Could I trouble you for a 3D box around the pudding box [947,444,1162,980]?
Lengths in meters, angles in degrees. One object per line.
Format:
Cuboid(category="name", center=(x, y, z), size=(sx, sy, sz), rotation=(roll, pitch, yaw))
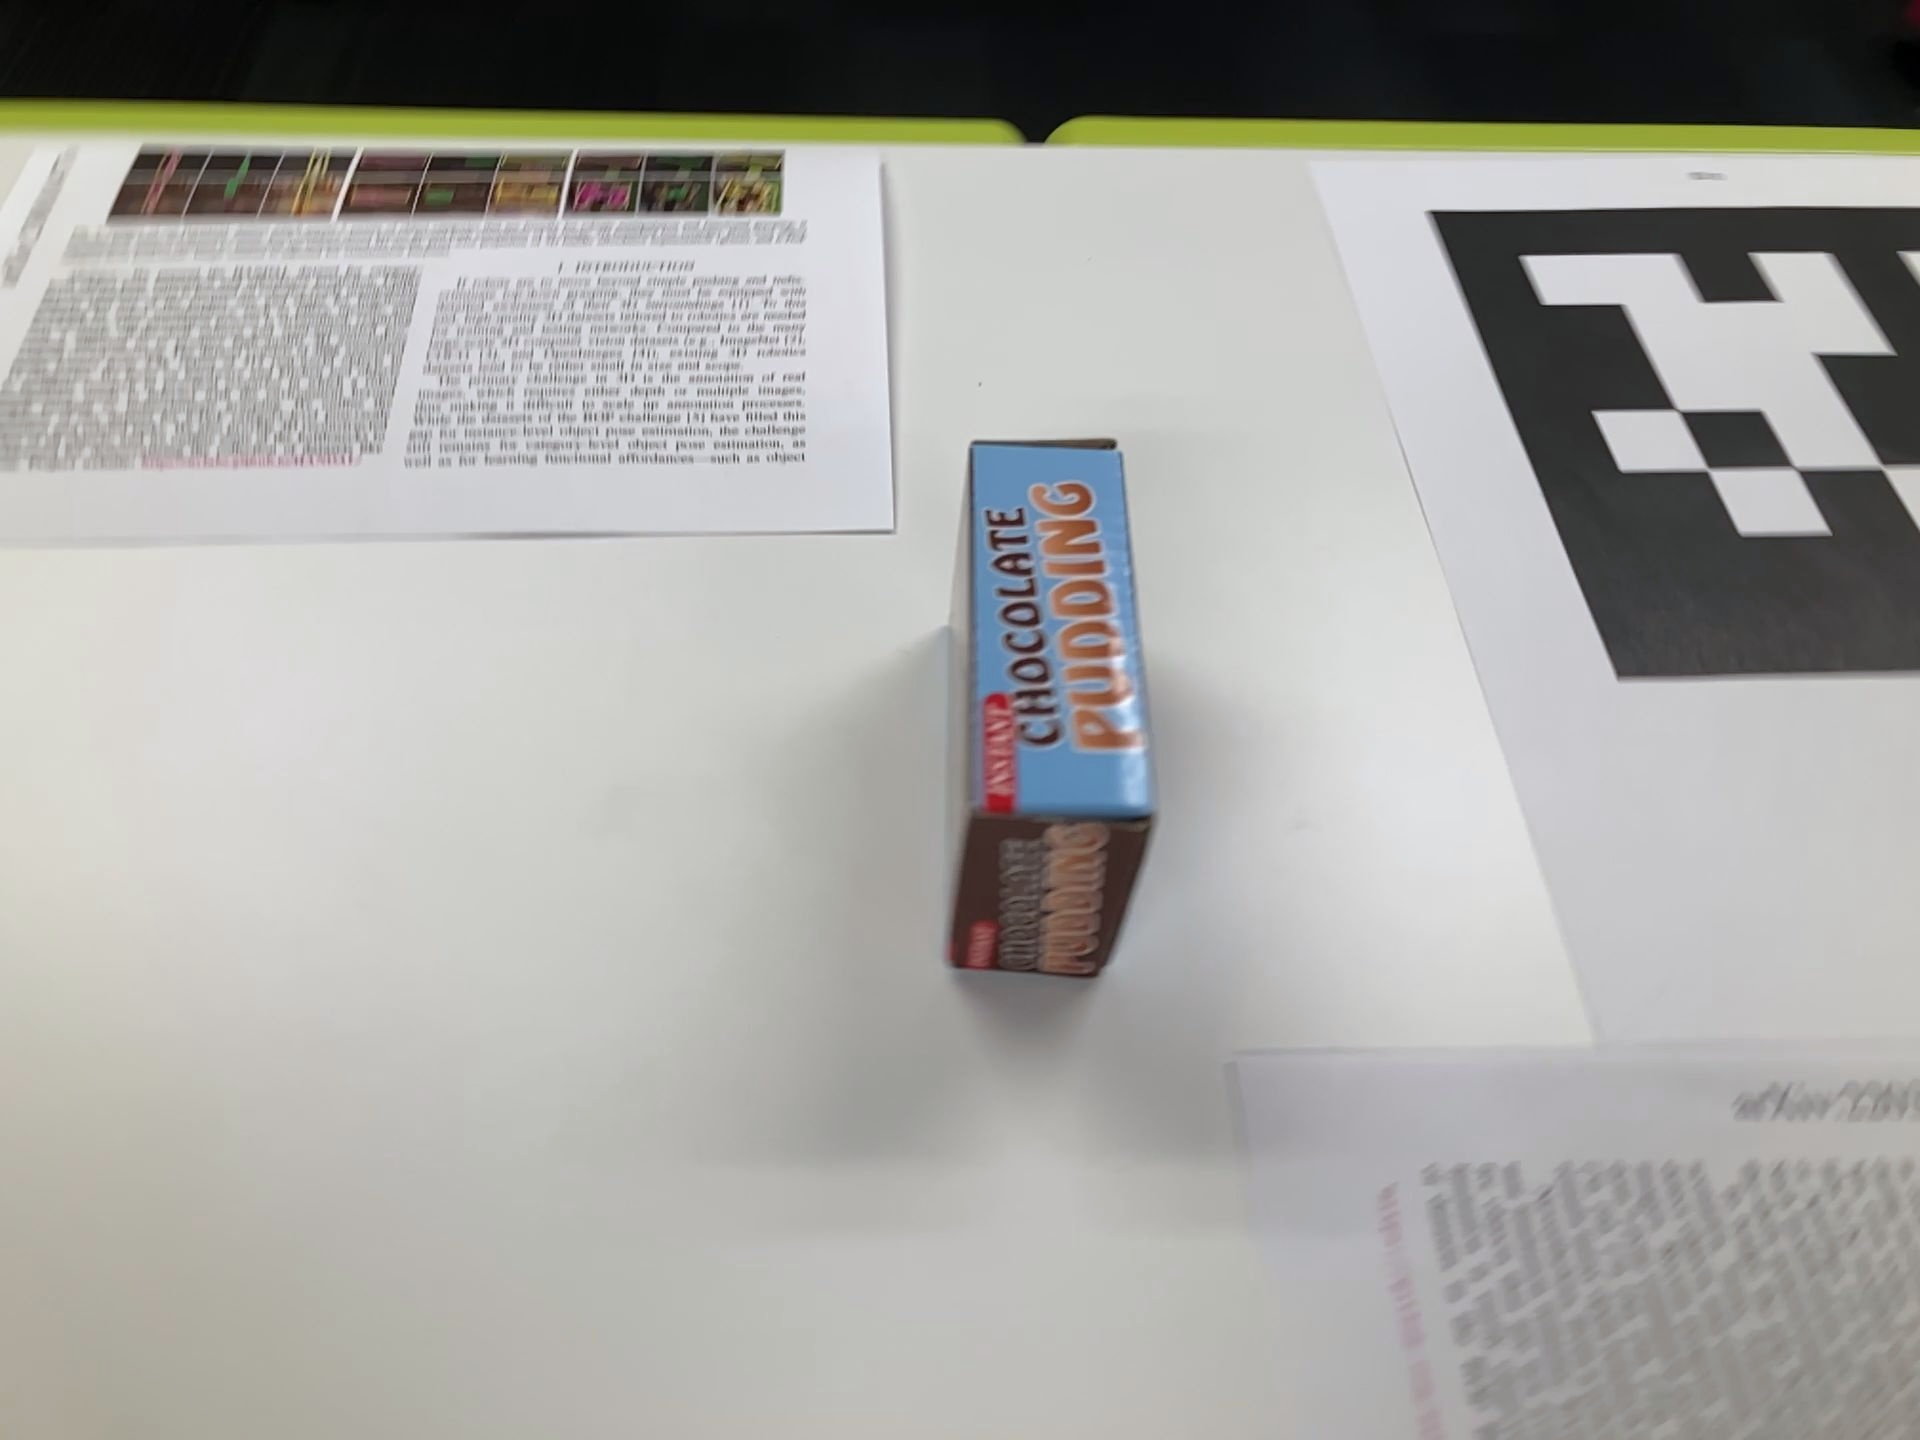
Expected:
Cuboid(category="pudding box", center=(0.014, -0.003, 0.278), size=(0.030, 0.049, 0.083), rotation=(2, 52, -3))
